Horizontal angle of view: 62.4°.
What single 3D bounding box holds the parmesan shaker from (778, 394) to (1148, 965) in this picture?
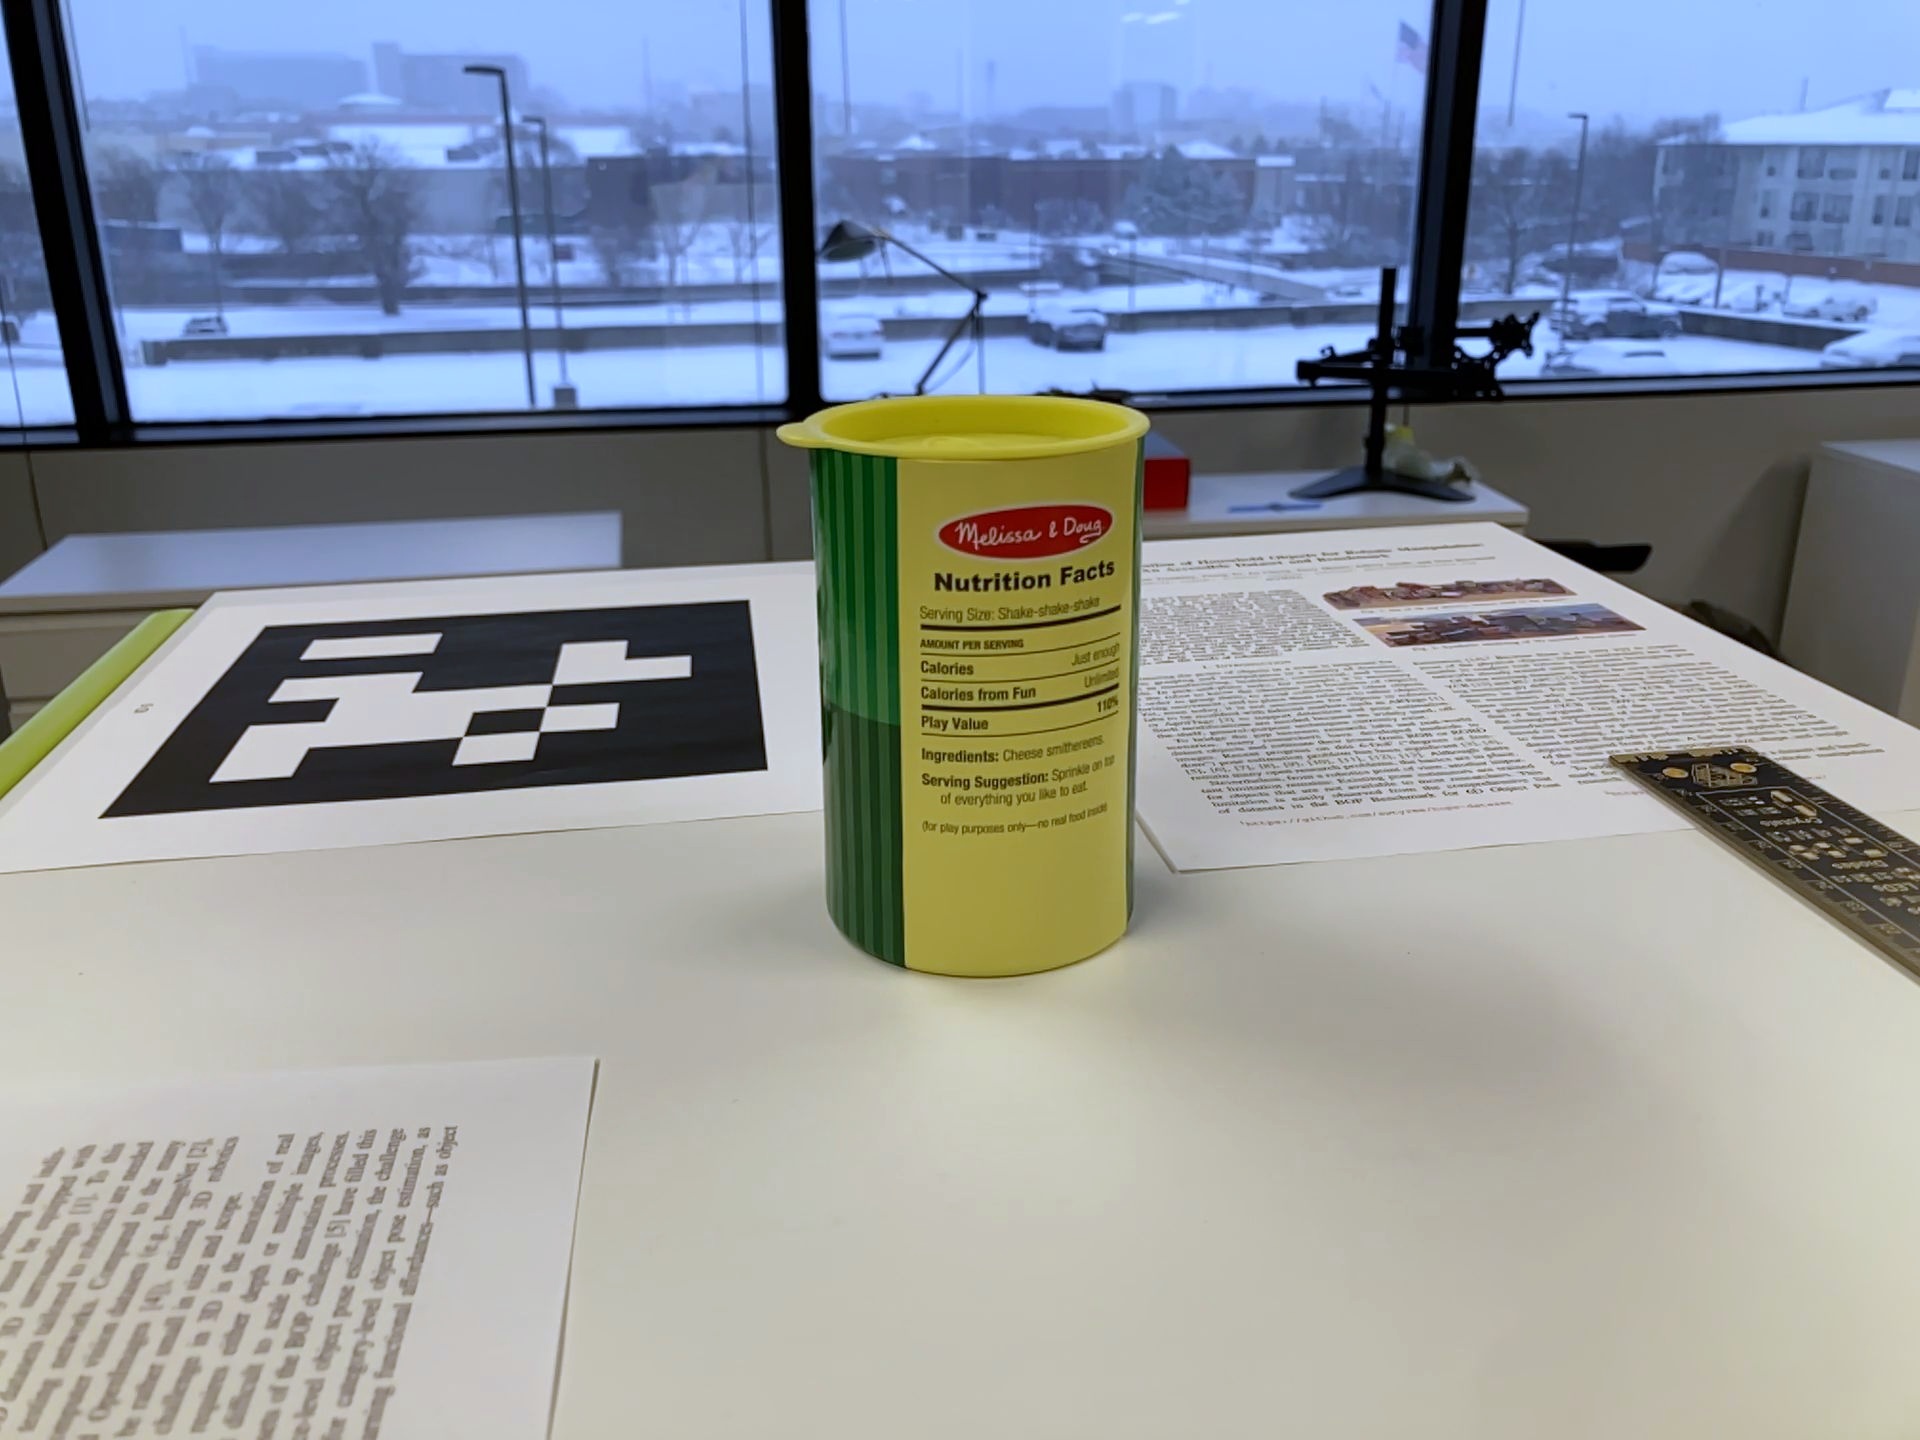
[{"bbox_3d":[0.001,-0.011,0.322,0.071,0.103,0.071,0,18,0],"label":"parmesan shaker"}]
